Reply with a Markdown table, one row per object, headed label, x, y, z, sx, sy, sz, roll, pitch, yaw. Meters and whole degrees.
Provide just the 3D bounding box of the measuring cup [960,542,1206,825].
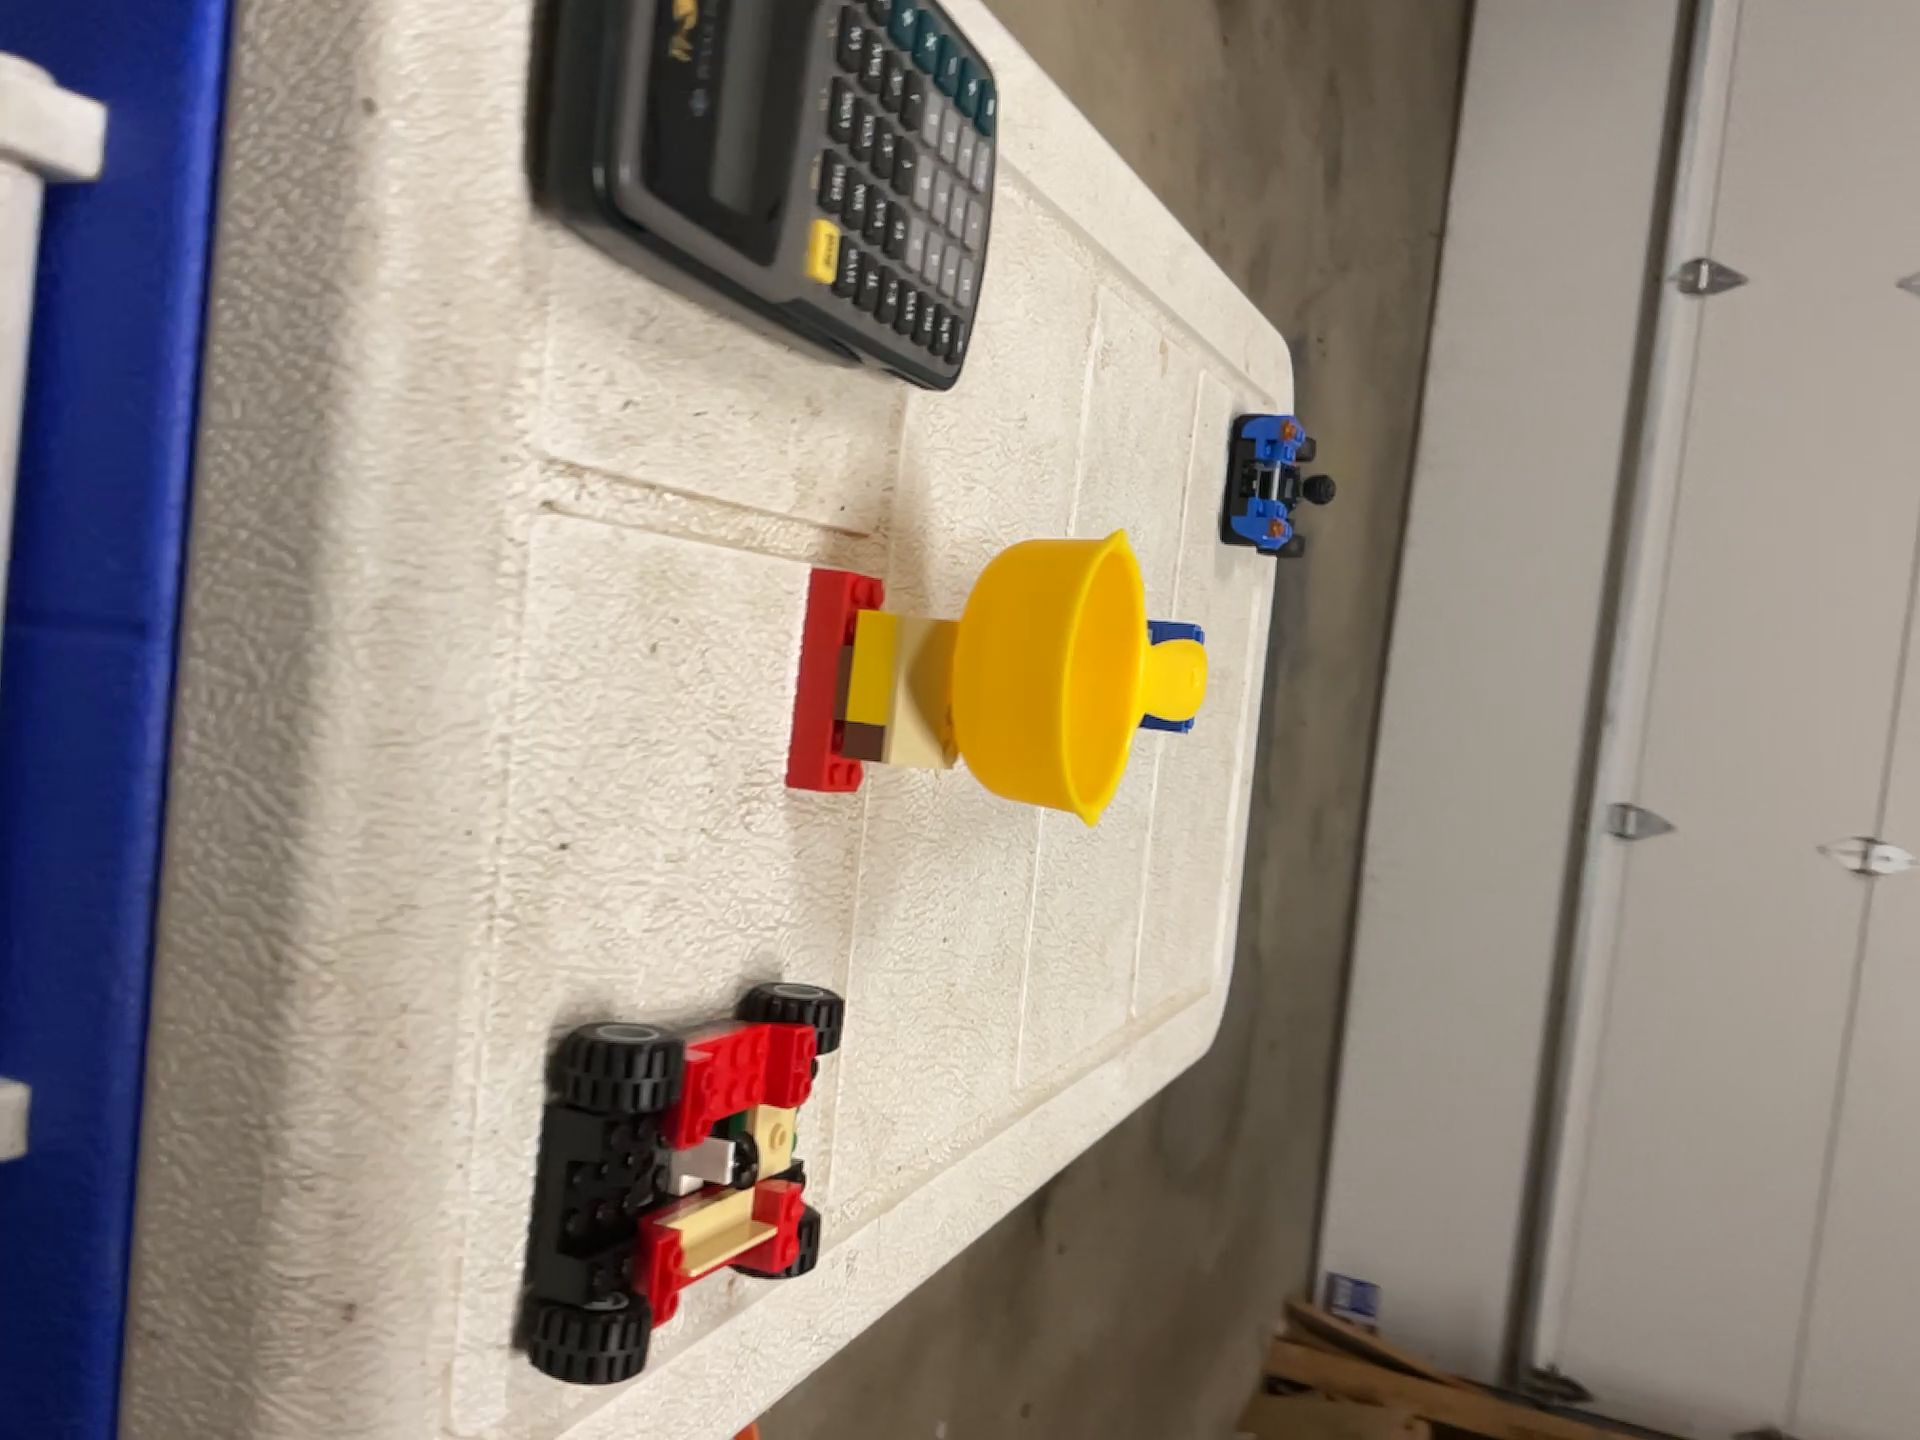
| label | x | y | z | sx | sy | sz | roll | pitch | yaw |
| --- | --- | --- | --- | --- | --- | --- | --- | --- | --- |
| measuring cup | 0.036 | -0.010 | 0.399 | 0.156 | 0.029 | 0.062 | -3 | 99 | -71 |
